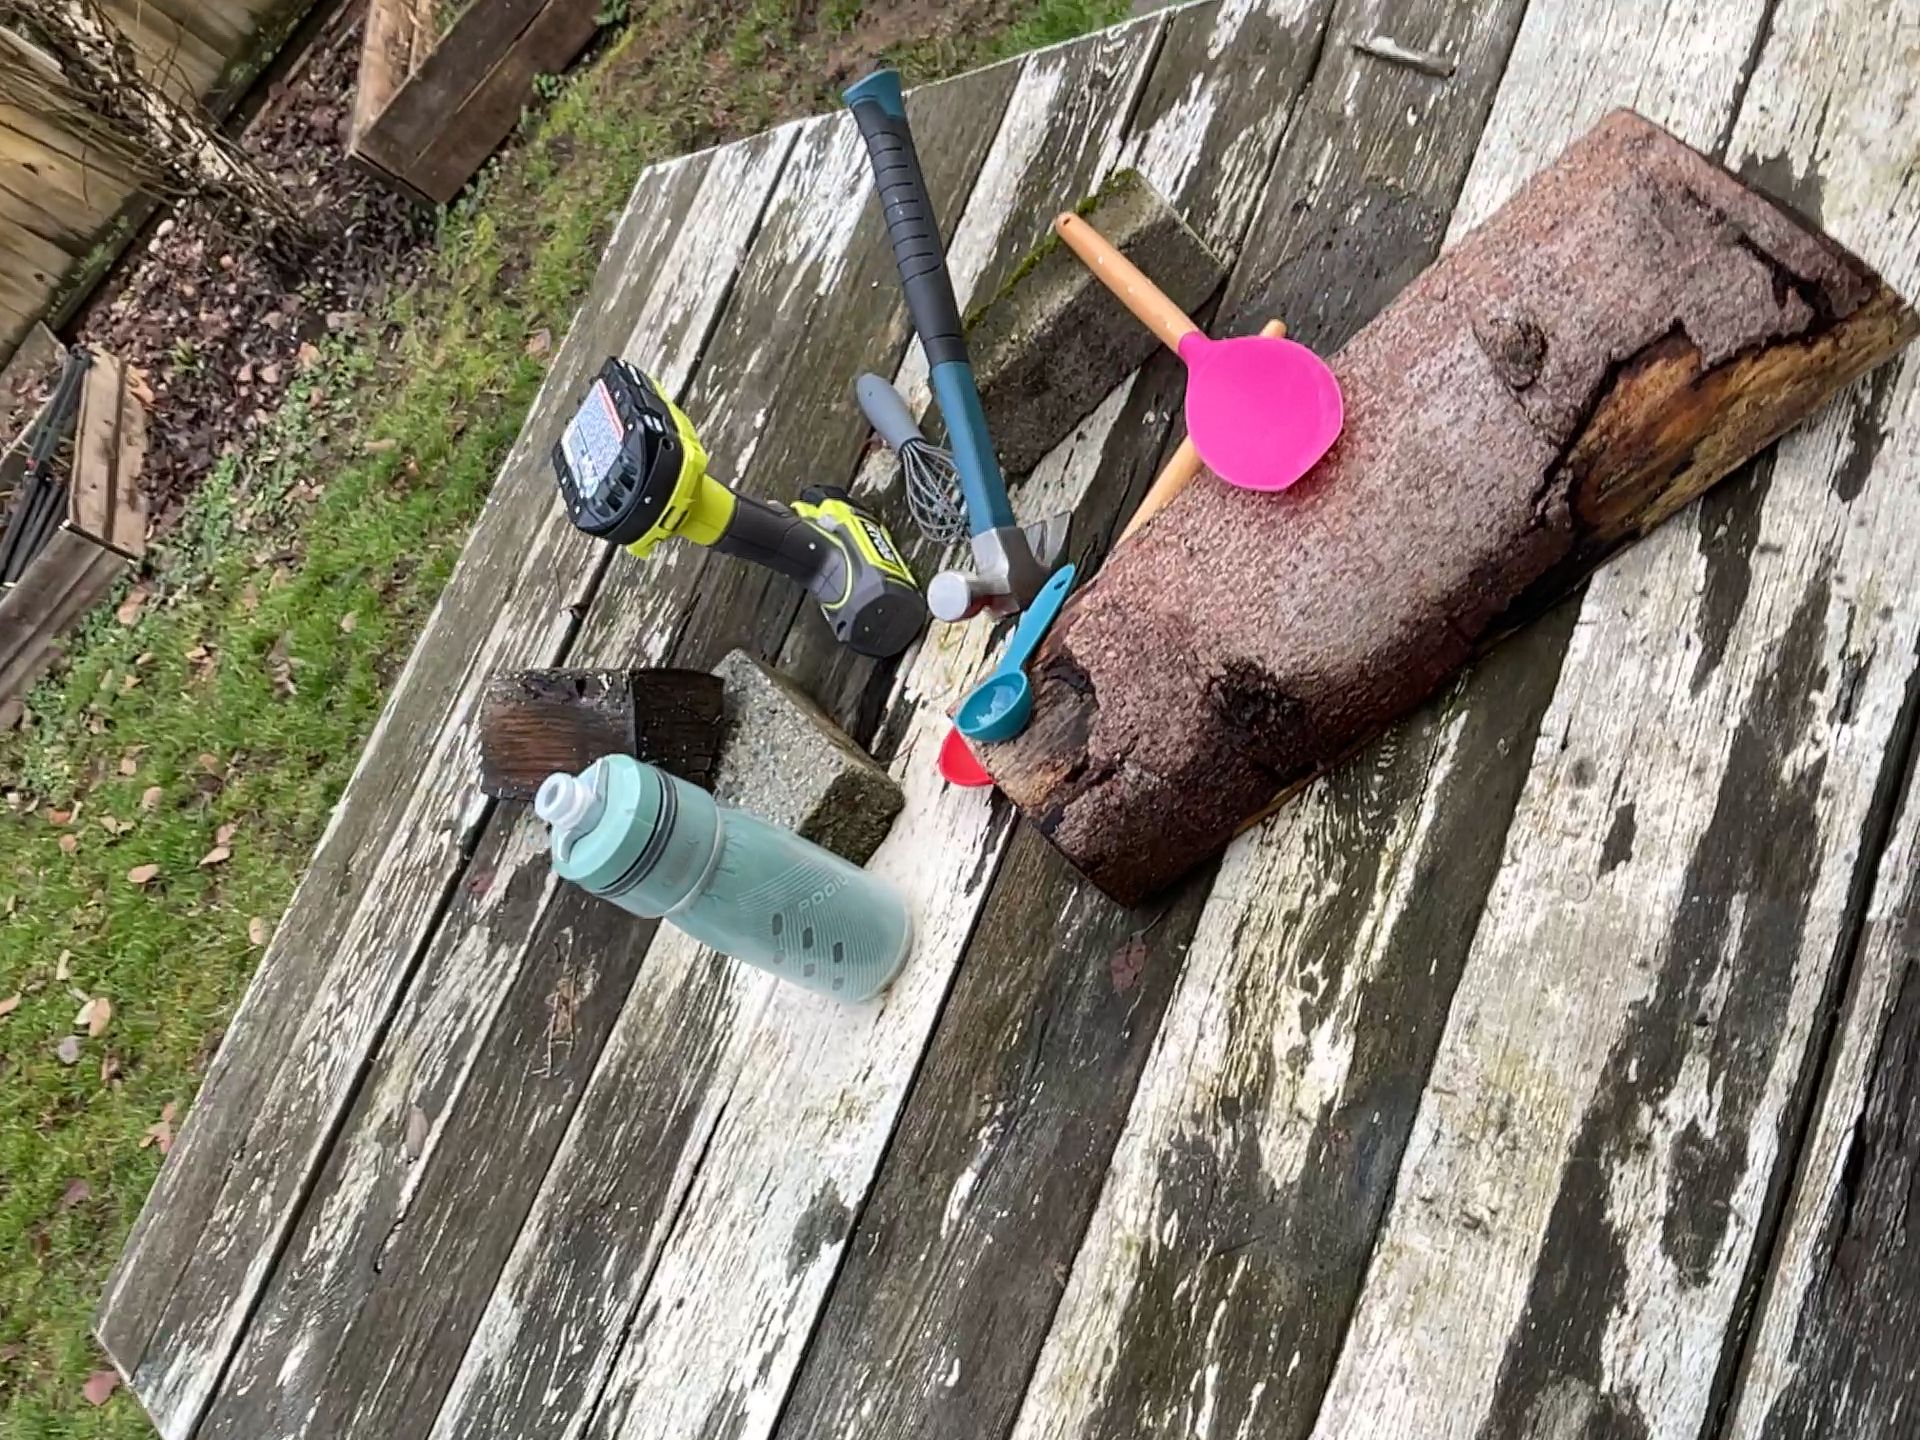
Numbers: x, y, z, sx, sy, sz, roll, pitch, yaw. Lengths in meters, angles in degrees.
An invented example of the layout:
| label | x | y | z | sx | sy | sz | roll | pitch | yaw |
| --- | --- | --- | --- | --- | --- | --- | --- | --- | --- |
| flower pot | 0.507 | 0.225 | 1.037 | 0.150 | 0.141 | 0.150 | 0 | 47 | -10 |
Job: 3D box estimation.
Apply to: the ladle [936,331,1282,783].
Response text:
| label | x | y | z | sx | sy | sz | roll | pitch | yaw |
| --- | --- | --- | --- | --- | --- | --- | --- | --- | --- |
| ladle | 0.091 | -0.091 | 0.909 | 0.315 | 0.031 | 0.069 | -55 | 38 | -1 |

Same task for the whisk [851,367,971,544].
| label | x | y | z | sx | sy | sz | roll | pitch | yaw |
| --- | --- | --- | --- | --- | --- | --- | --- | --- | --- |
| whisk | -0.034 | -0.188 | 1.073 | 0.055 | 0.055 | 0.239 | -40 | 39 | 8 |

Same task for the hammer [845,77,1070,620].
| label | x | y | z | sx | sy | sz | roll | pitch | yaw |
| --- | --- | --- | --- | --- | --- | --- | --- | --- | --- |
| hammer | -0.009 | -0.221 | 0.939 | 0.033 | 0.128 | 0.331 | -18 | 86 | 35 |

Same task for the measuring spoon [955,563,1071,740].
| label | x | y | z | sx | sy | sz | roll | pitch | yaw |
| --- | --- | --- | --- | --- | --- | --- | --- | --- | --- |
| measuring spoon | 0.036 | -0.034 | 0.807 | 0.042 | 0.021 | 0.129 | -14 | 34 | 40 |

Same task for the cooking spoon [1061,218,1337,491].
| label | x | y | z | sx | sy | sz | roll | pitch | yaw |
| --- | --- | --- | --- | --- | --- | --- | --- | --- | --- |
| cooking spoon | 0.112 | -0.205 | 0.835 | 0.069 | 0.017 | 0.319 | -46 | 37 | 15 |

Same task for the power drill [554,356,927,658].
| label | x | y | z | sx | sy | sz | roll | pitch | yaw |
| --- | --- | --- | --- | --- | --- | --- | --- | --- | --- |
| power drill | -0.137 | -0.136 | 1.016 | 0.080 | 0.222 | 0.171 | -52 | 38 | 18 |
